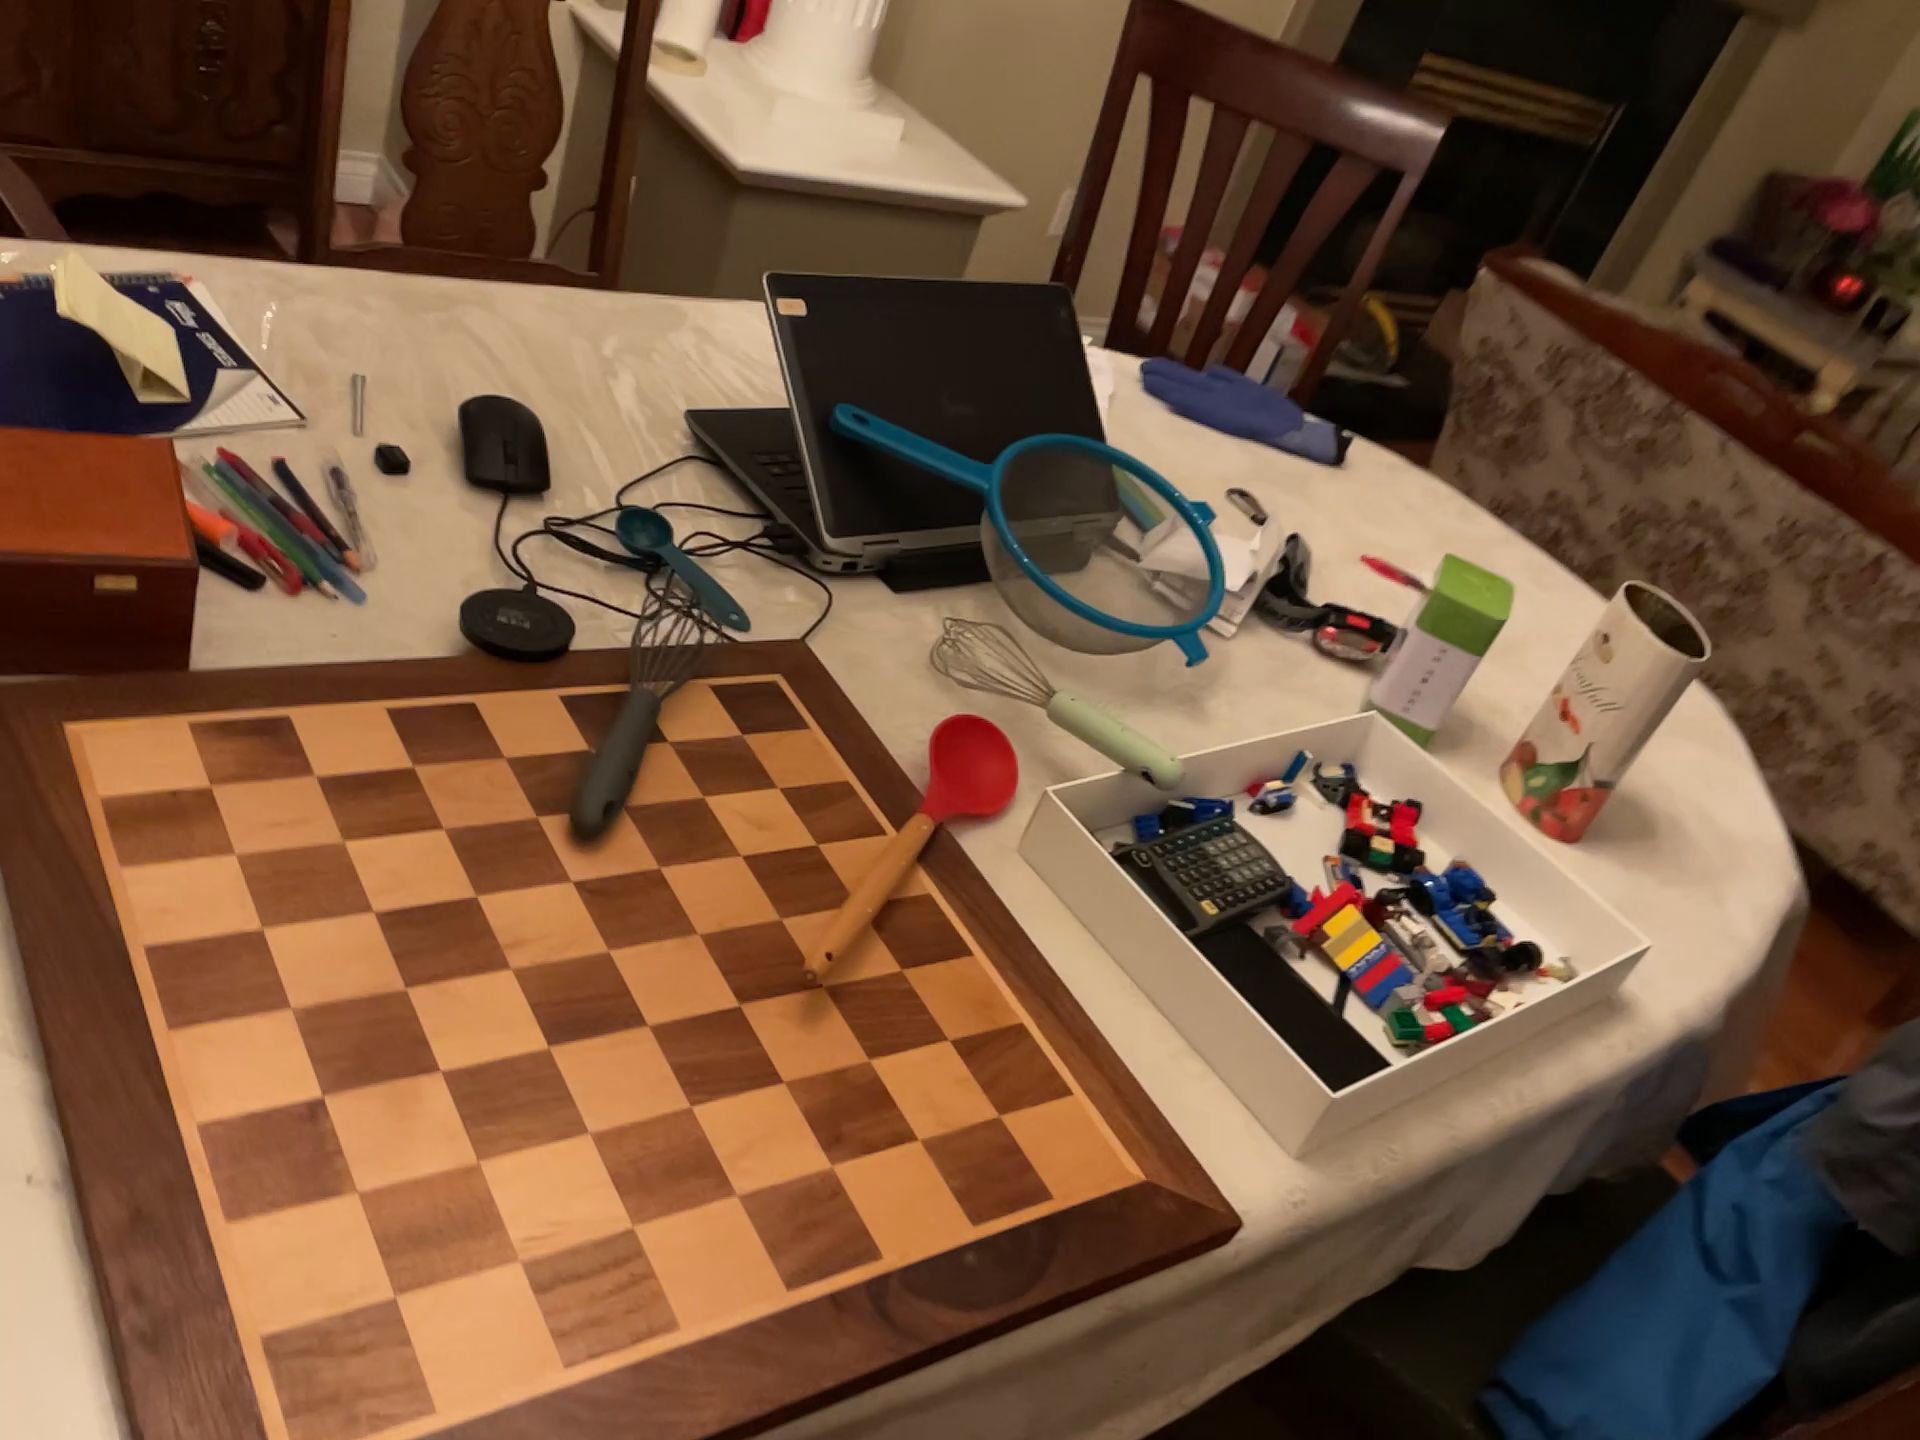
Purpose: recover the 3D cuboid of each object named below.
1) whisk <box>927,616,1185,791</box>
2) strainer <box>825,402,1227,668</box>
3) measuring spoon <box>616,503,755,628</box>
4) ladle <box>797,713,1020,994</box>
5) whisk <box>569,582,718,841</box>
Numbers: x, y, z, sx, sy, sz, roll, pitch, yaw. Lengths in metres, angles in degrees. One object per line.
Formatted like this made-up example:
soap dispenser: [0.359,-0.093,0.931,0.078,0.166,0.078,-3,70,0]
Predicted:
whisk: [0.063,-0.014,1.091,0.059,0.057,0.247,-37,45,-21]
strainer: [0.041,-0.147,1.252,0.340,0.095,0.211,22,45,-11]
measuring spoon: [-0.196,-0.104,1.130,0.129,0.021,0.042,43,44,8]
ladle: [-0.029,0.074,0.935,0.069,0.031,0.315,47,29,-4]
whisk: [-0.190,-0.009,0.947,0.055,0.055,0.239,8,37,2]
